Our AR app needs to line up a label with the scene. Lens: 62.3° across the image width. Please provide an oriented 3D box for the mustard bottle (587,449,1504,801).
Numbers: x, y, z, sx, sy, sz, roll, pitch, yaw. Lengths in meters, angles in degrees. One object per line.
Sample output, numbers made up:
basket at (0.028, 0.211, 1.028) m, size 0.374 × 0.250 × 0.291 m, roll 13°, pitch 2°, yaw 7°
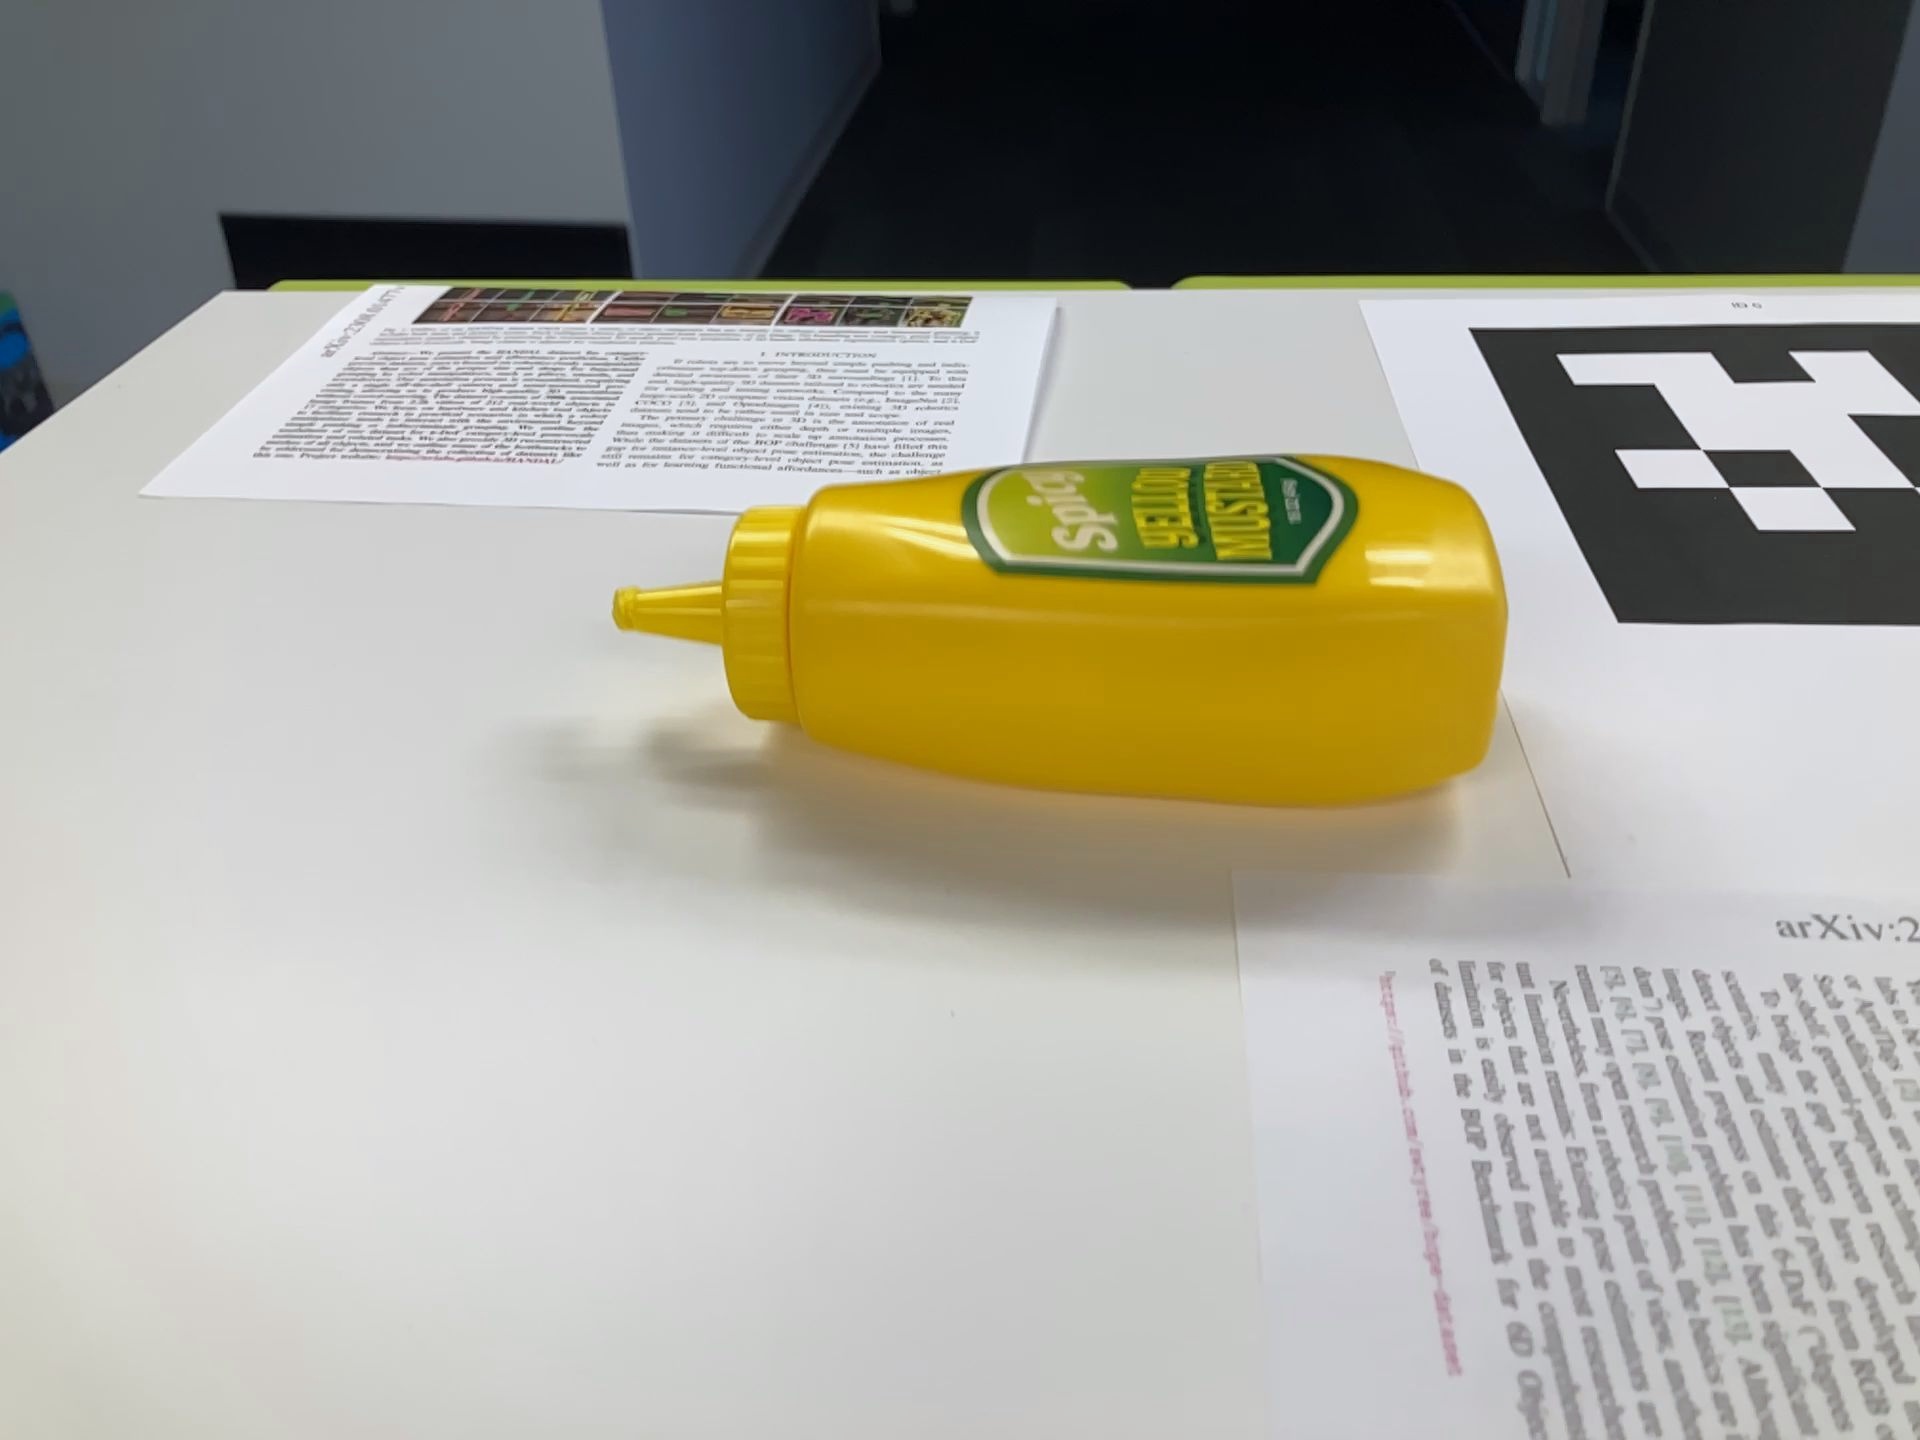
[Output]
mustard bottle at (0.010, -0.019, 0.283) m, size 0.160 × 0.049 × 0.065 m, roll 0°, pitch 33°, yaw 5°
